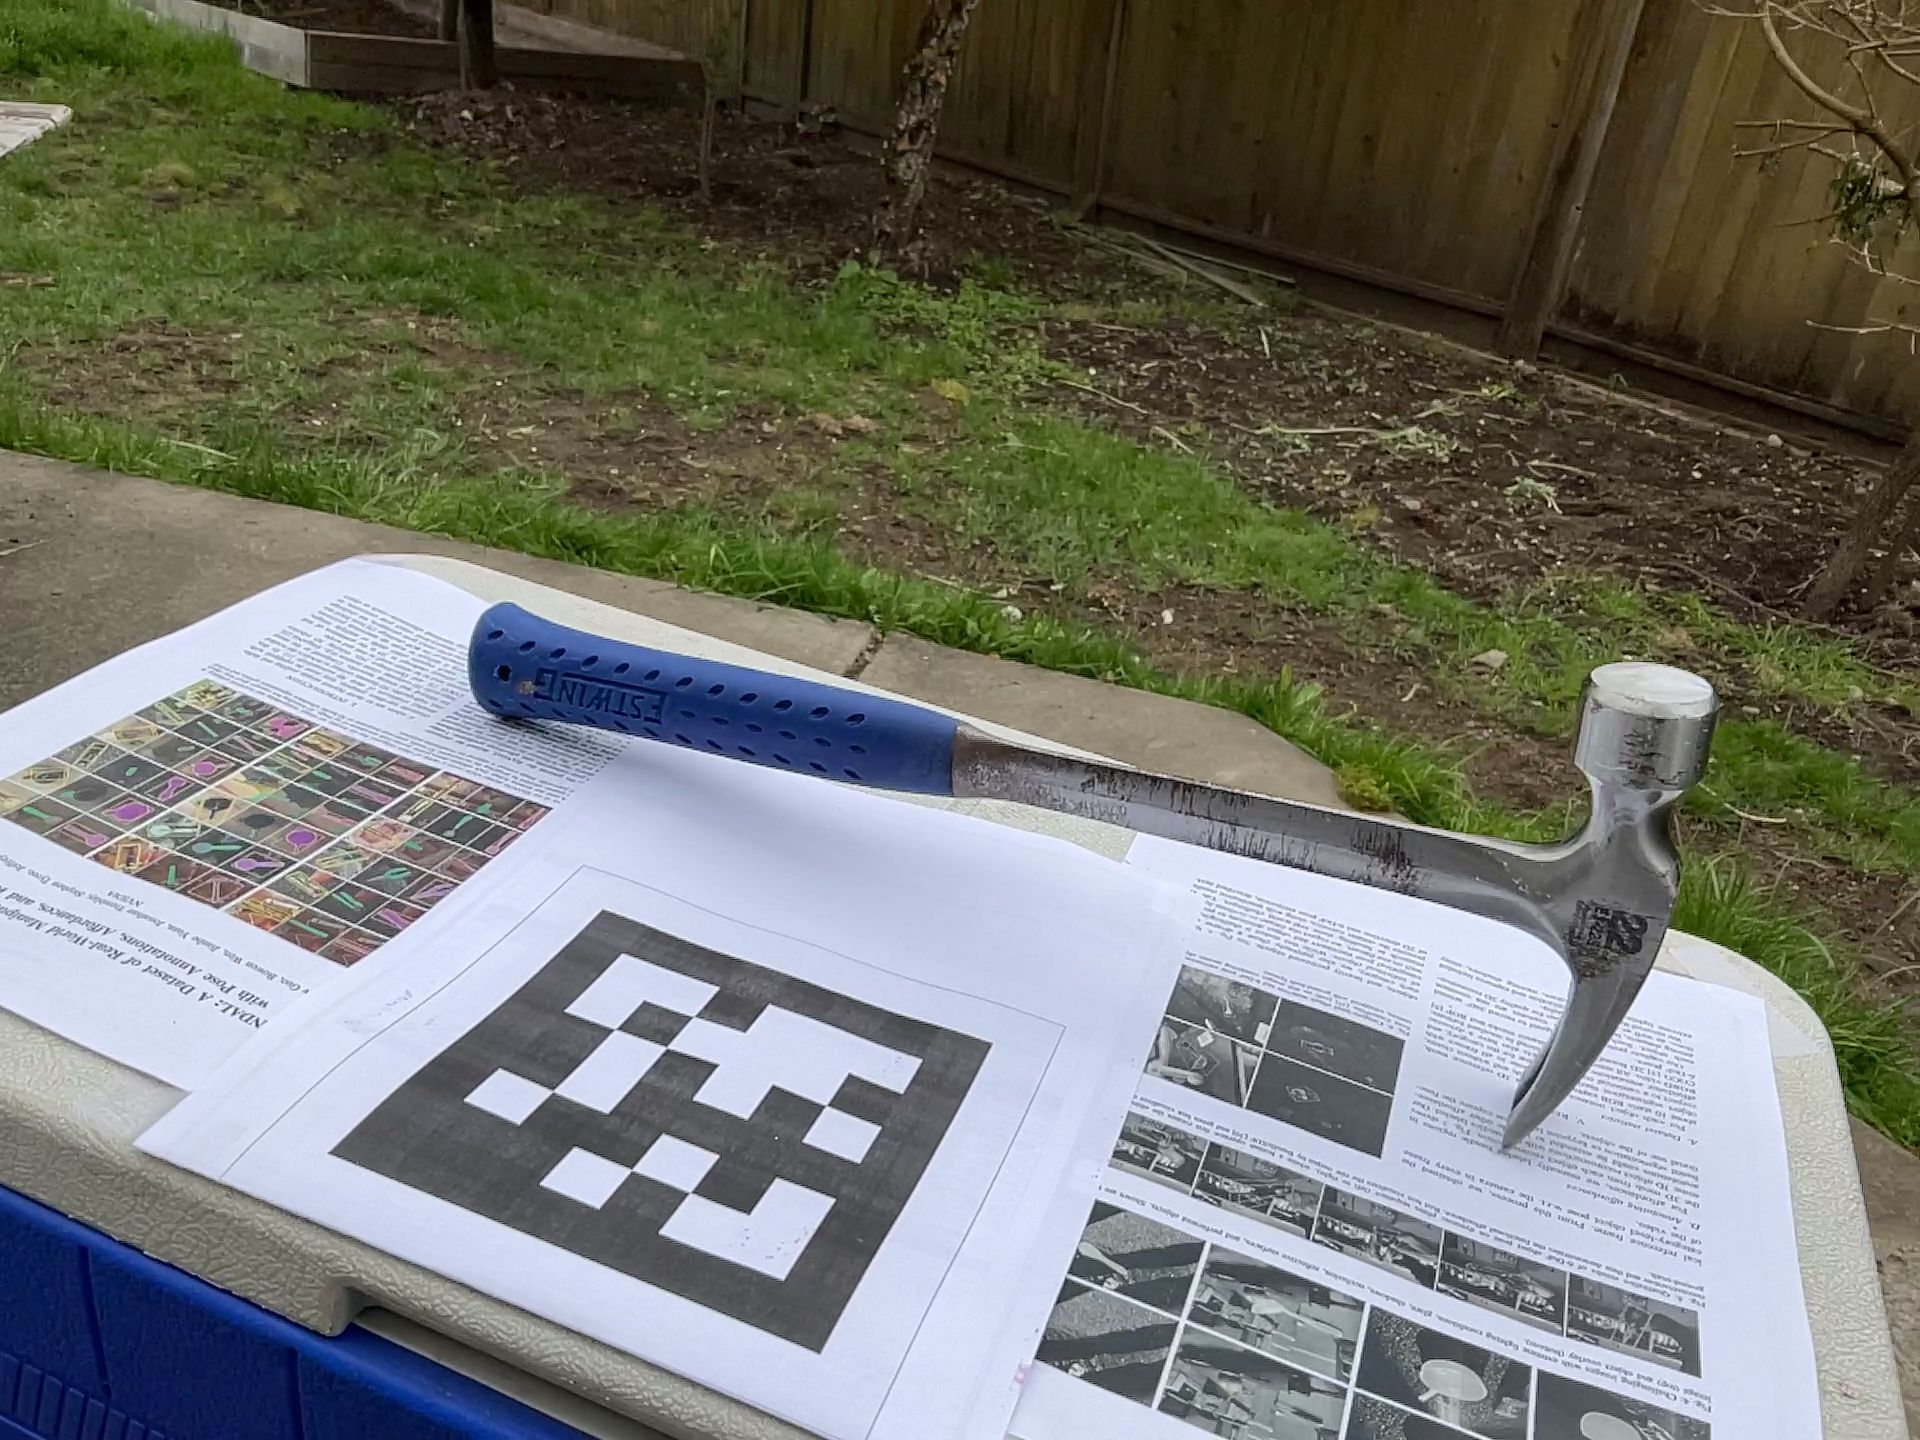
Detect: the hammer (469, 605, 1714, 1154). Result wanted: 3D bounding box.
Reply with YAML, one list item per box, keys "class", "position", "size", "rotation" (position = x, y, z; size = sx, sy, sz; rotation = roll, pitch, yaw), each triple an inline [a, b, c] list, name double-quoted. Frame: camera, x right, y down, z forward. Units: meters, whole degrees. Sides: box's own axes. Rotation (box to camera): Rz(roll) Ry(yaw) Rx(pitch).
- class: "hammer"
  position: [0.010, 0.022, 0.516]
  size: [0.405, 0.144, 0.035]
  rotation: [12, 25, 24]
